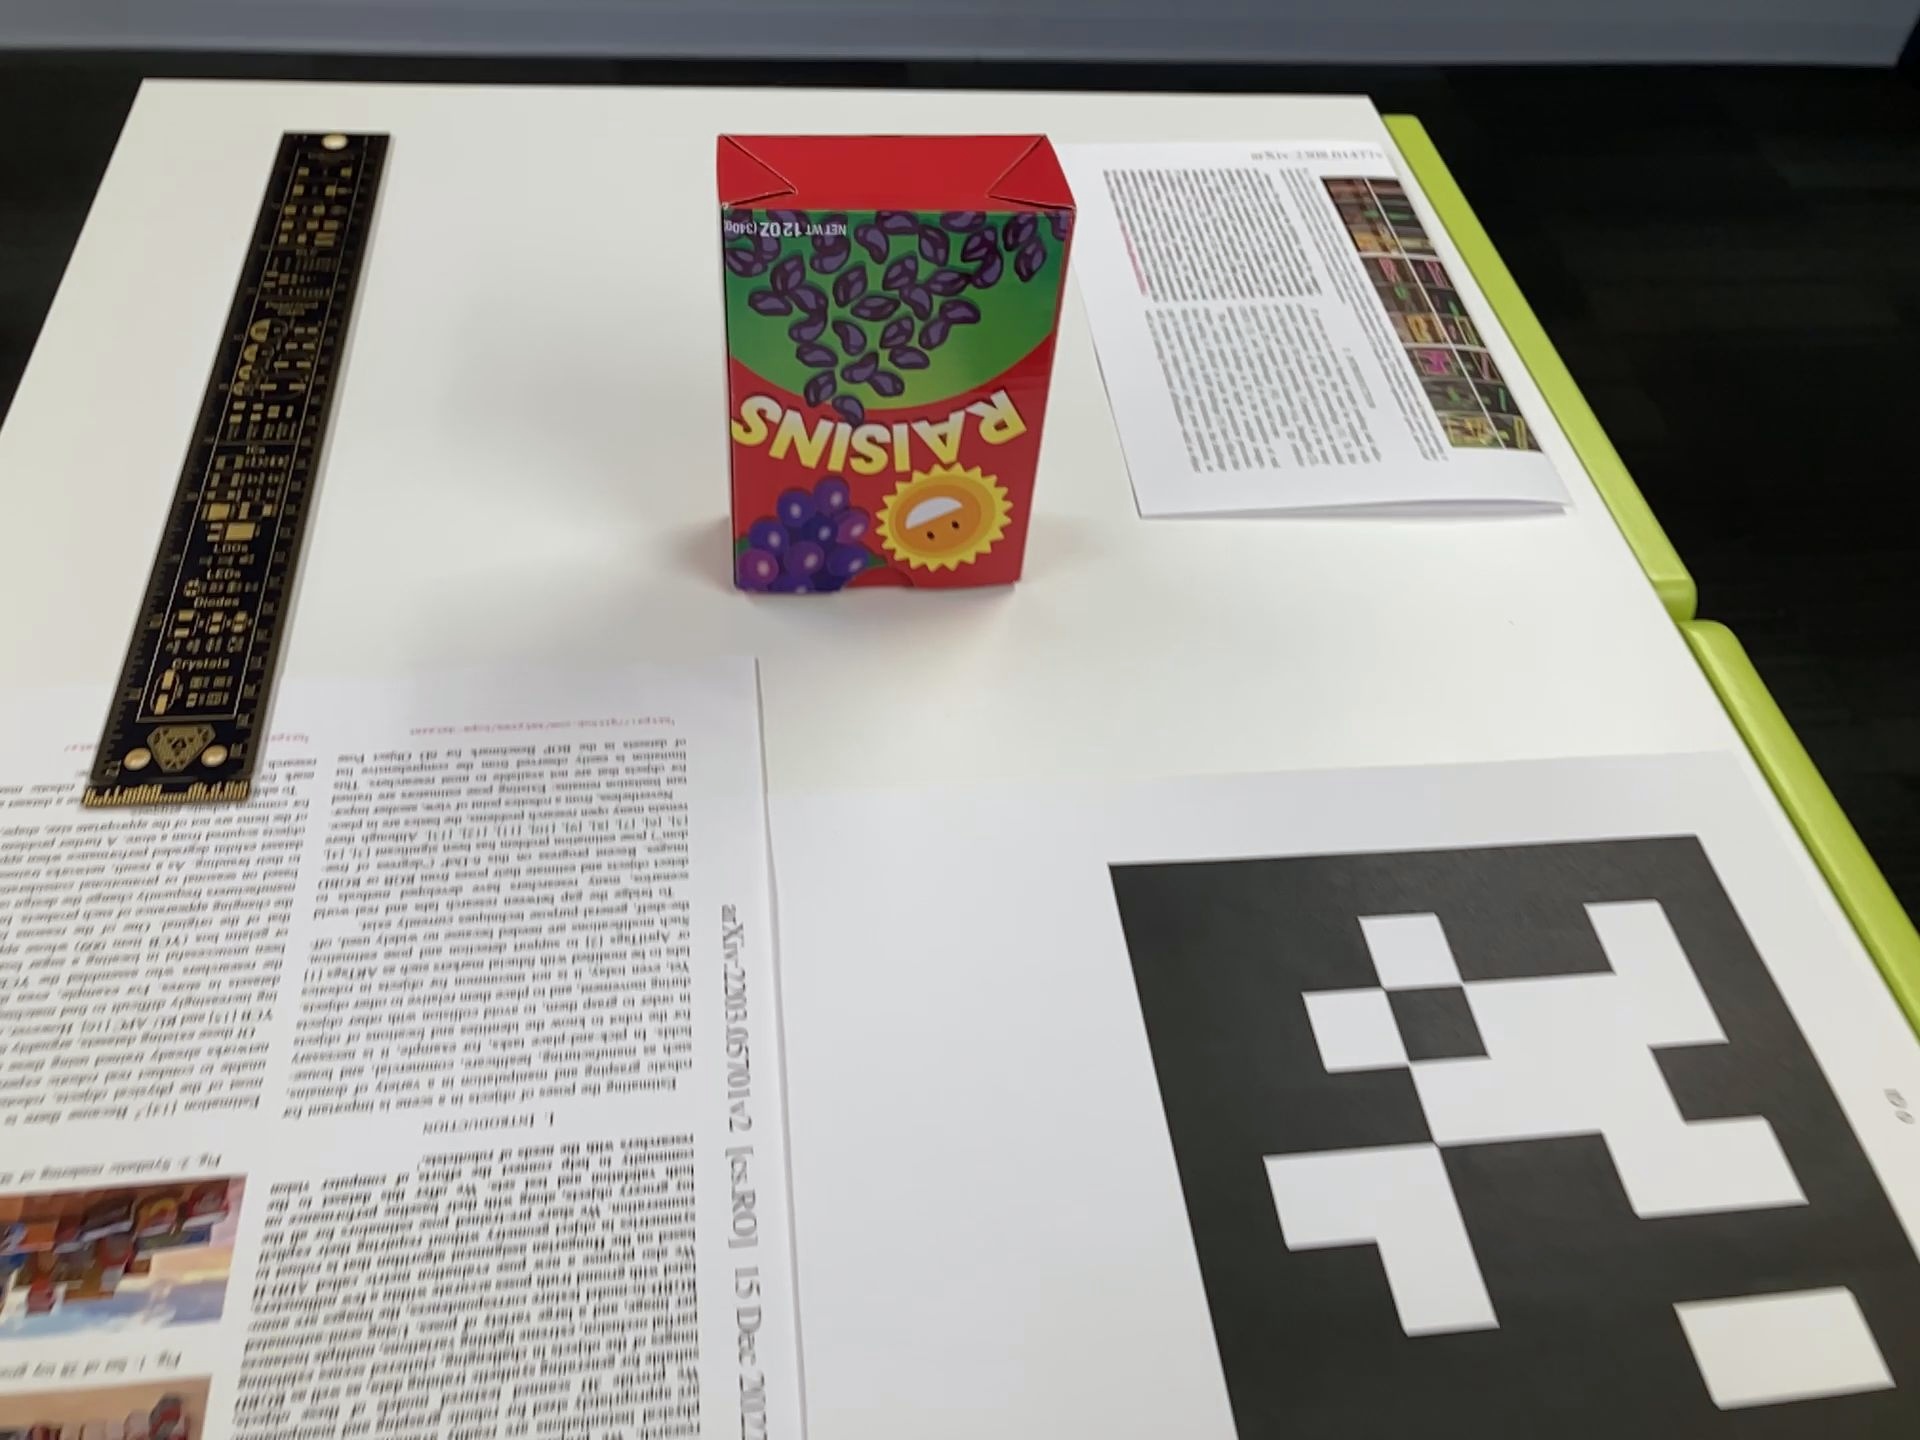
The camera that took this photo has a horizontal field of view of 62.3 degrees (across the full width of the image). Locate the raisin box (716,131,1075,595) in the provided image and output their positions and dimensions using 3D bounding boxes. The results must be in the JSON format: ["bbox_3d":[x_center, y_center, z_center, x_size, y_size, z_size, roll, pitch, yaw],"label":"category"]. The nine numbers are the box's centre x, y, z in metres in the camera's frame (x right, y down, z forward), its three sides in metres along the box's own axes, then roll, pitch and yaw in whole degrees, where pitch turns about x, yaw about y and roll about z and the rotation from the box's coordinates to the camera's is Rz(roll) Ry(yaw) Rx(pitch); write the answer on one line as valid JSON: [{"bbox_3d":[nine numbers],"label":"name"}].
[{"bbox_3d":[-0.020,-0.091,0.426,0.086,0.123,0.040,-3,48,-9],"label":"raisin box"}]
